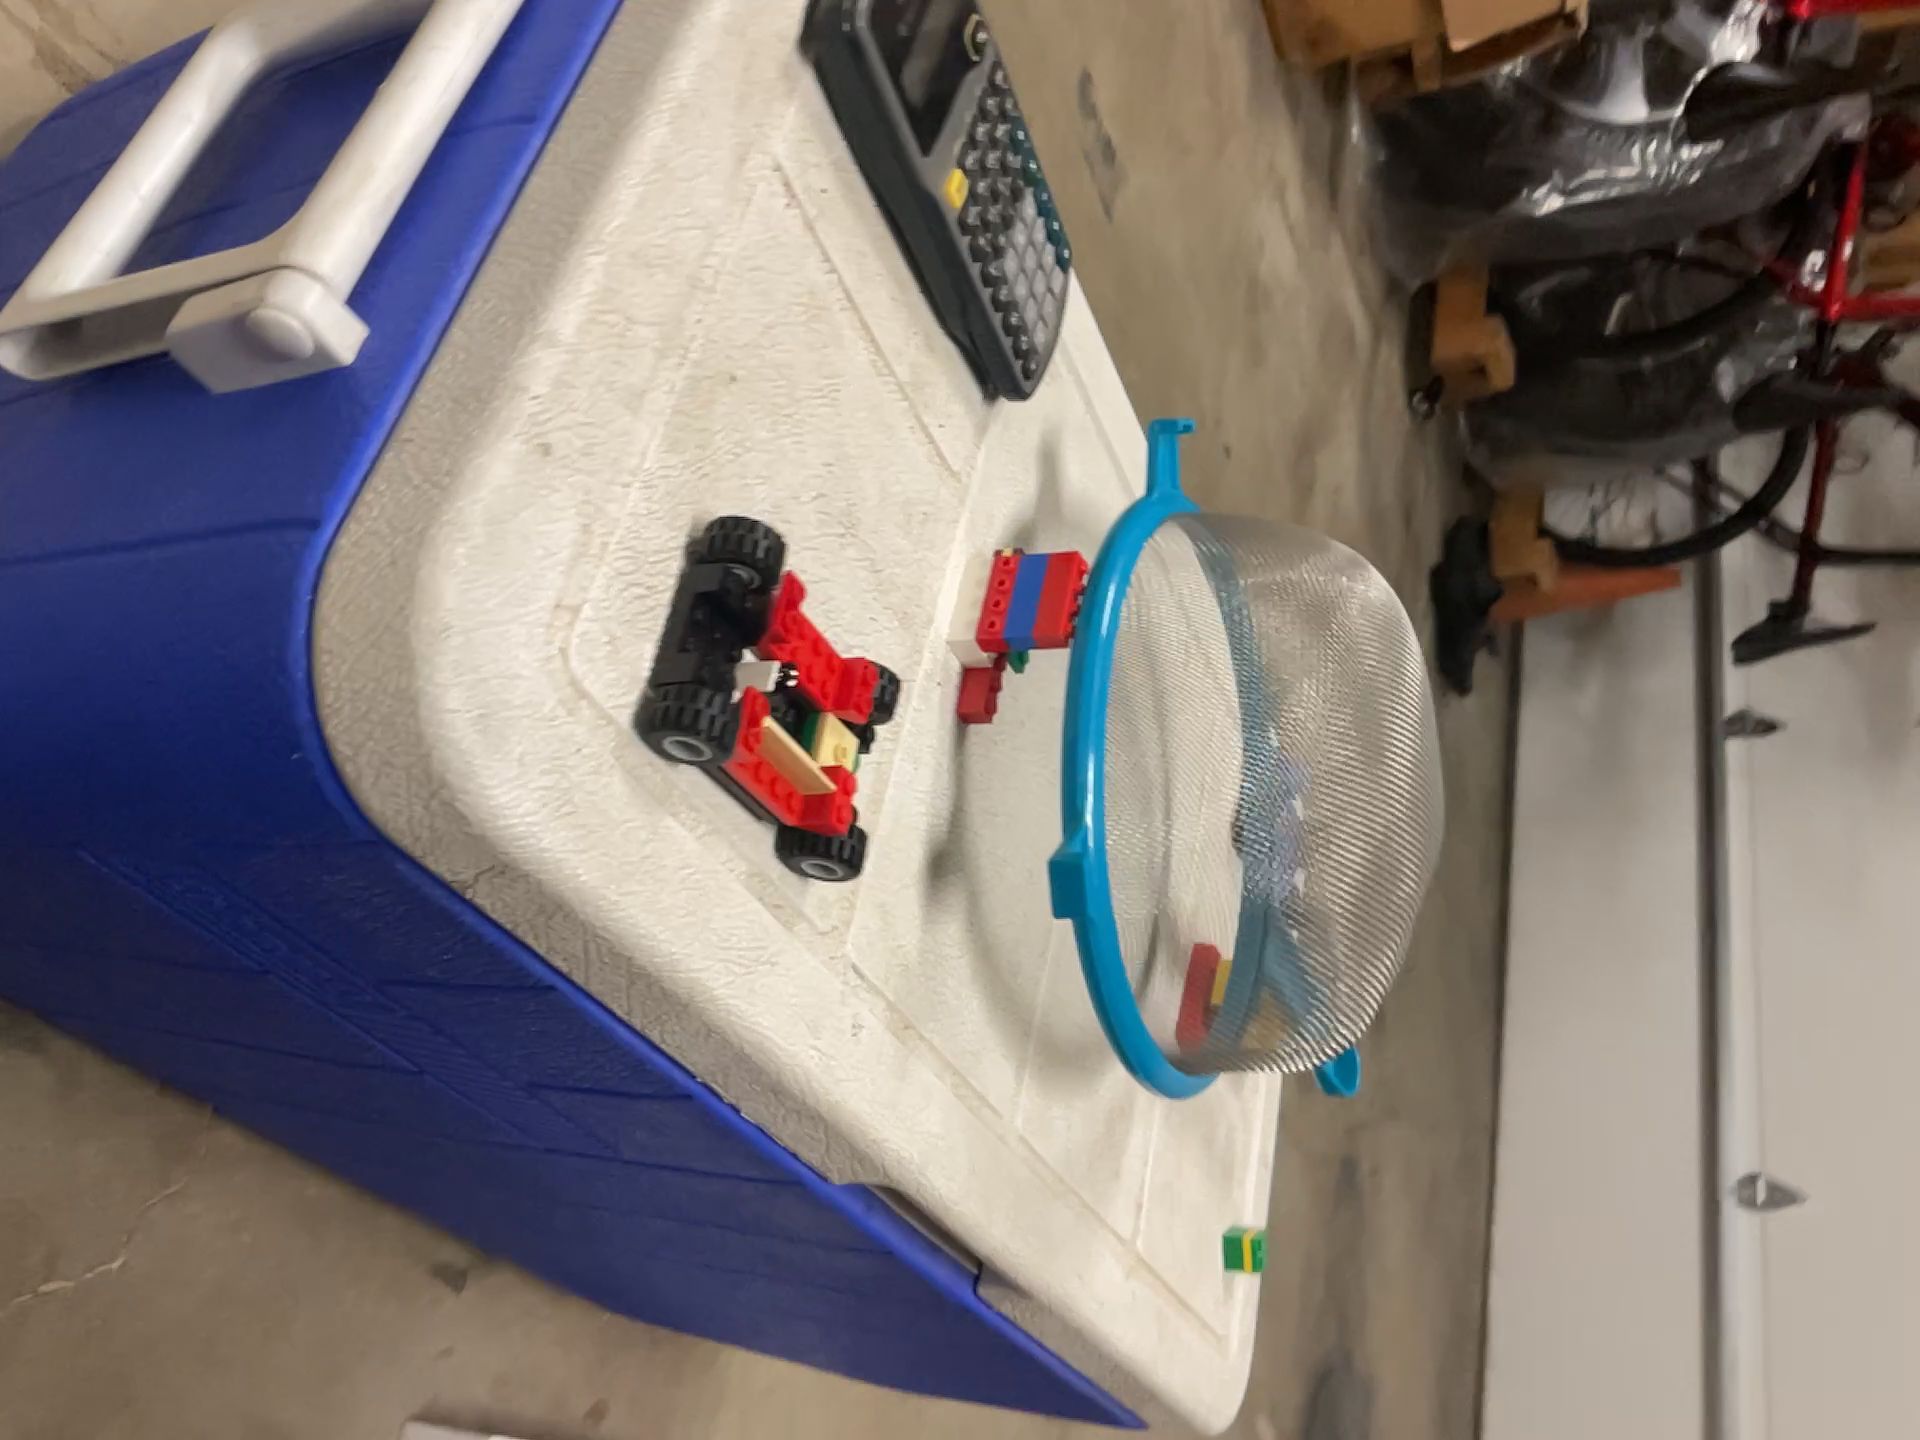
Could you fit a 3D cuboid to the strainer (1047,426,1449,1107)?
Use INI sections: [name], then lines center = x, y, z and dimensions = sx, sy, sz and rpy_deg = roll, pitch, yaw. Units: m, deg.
[strainer]
center = 0.139, 0.063, 0.589
dimensions = 0.340, 0.095, 0.211
rpy_deg = 56, 40, -46
